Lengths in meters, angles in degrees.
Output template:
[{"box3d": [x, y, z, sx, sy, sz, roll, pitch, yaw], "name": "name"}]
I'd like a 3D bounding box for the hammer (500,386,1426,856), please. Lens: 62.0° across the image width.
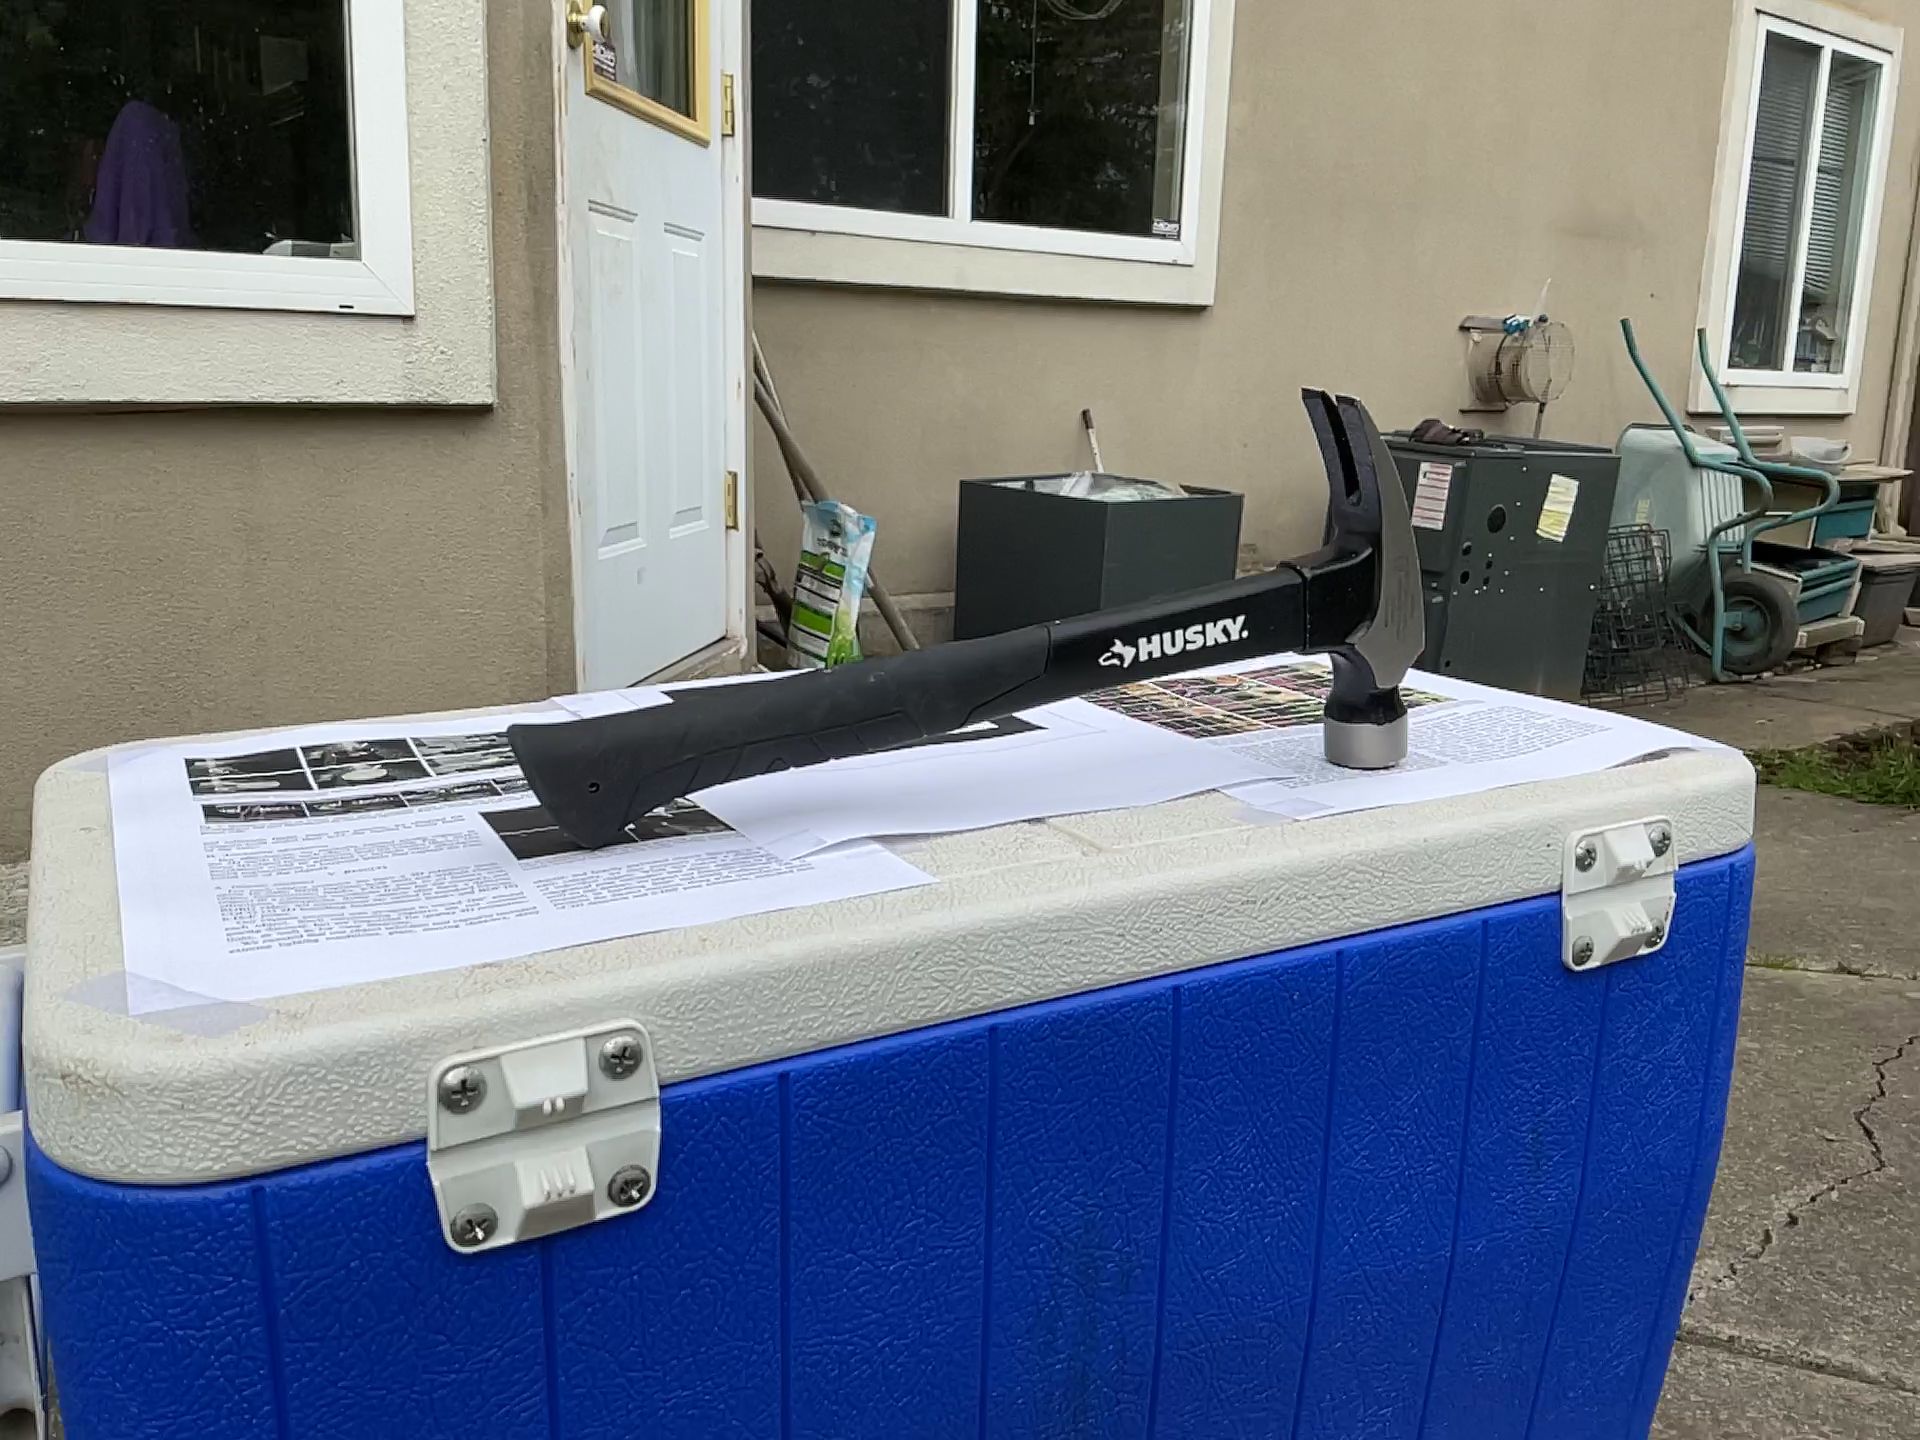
[{"box3d": [0.014, -0.020, 0.549, 0.334, 0.146, 0.035, -13, 22, -19], "name": "hammer"}]
